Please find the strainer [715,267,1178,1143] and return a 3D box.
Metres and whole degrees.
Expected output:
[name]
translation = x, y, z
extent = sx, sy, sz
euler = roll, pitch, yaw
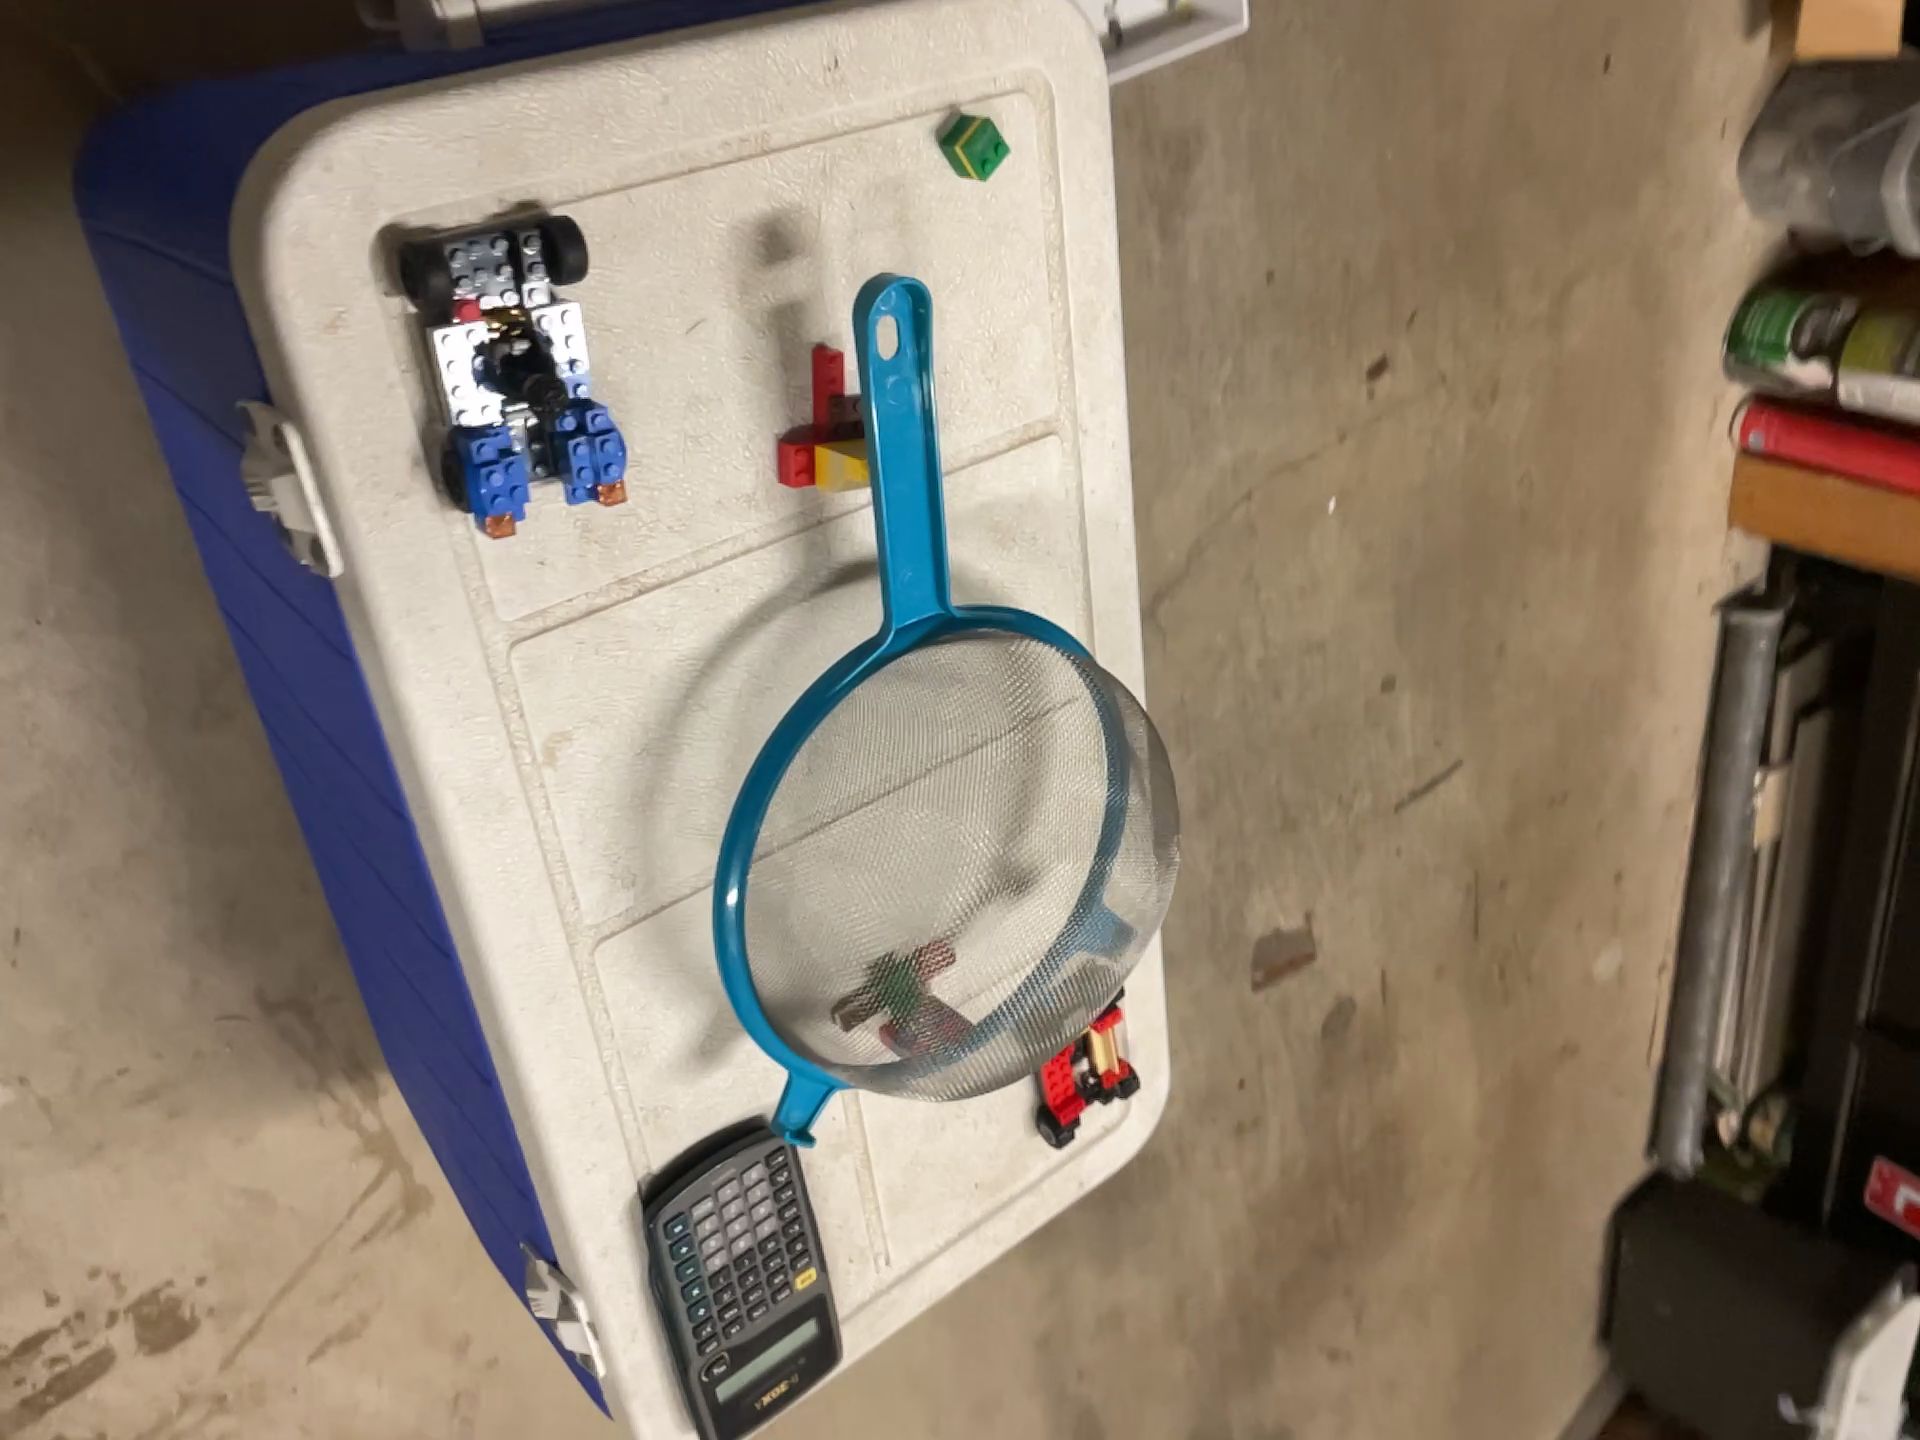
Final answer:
[strainer]
translation = 0.012, 0.009, 0.593
extent = 0.211, 0.095, 0.340
euler = -25, 124, -31
